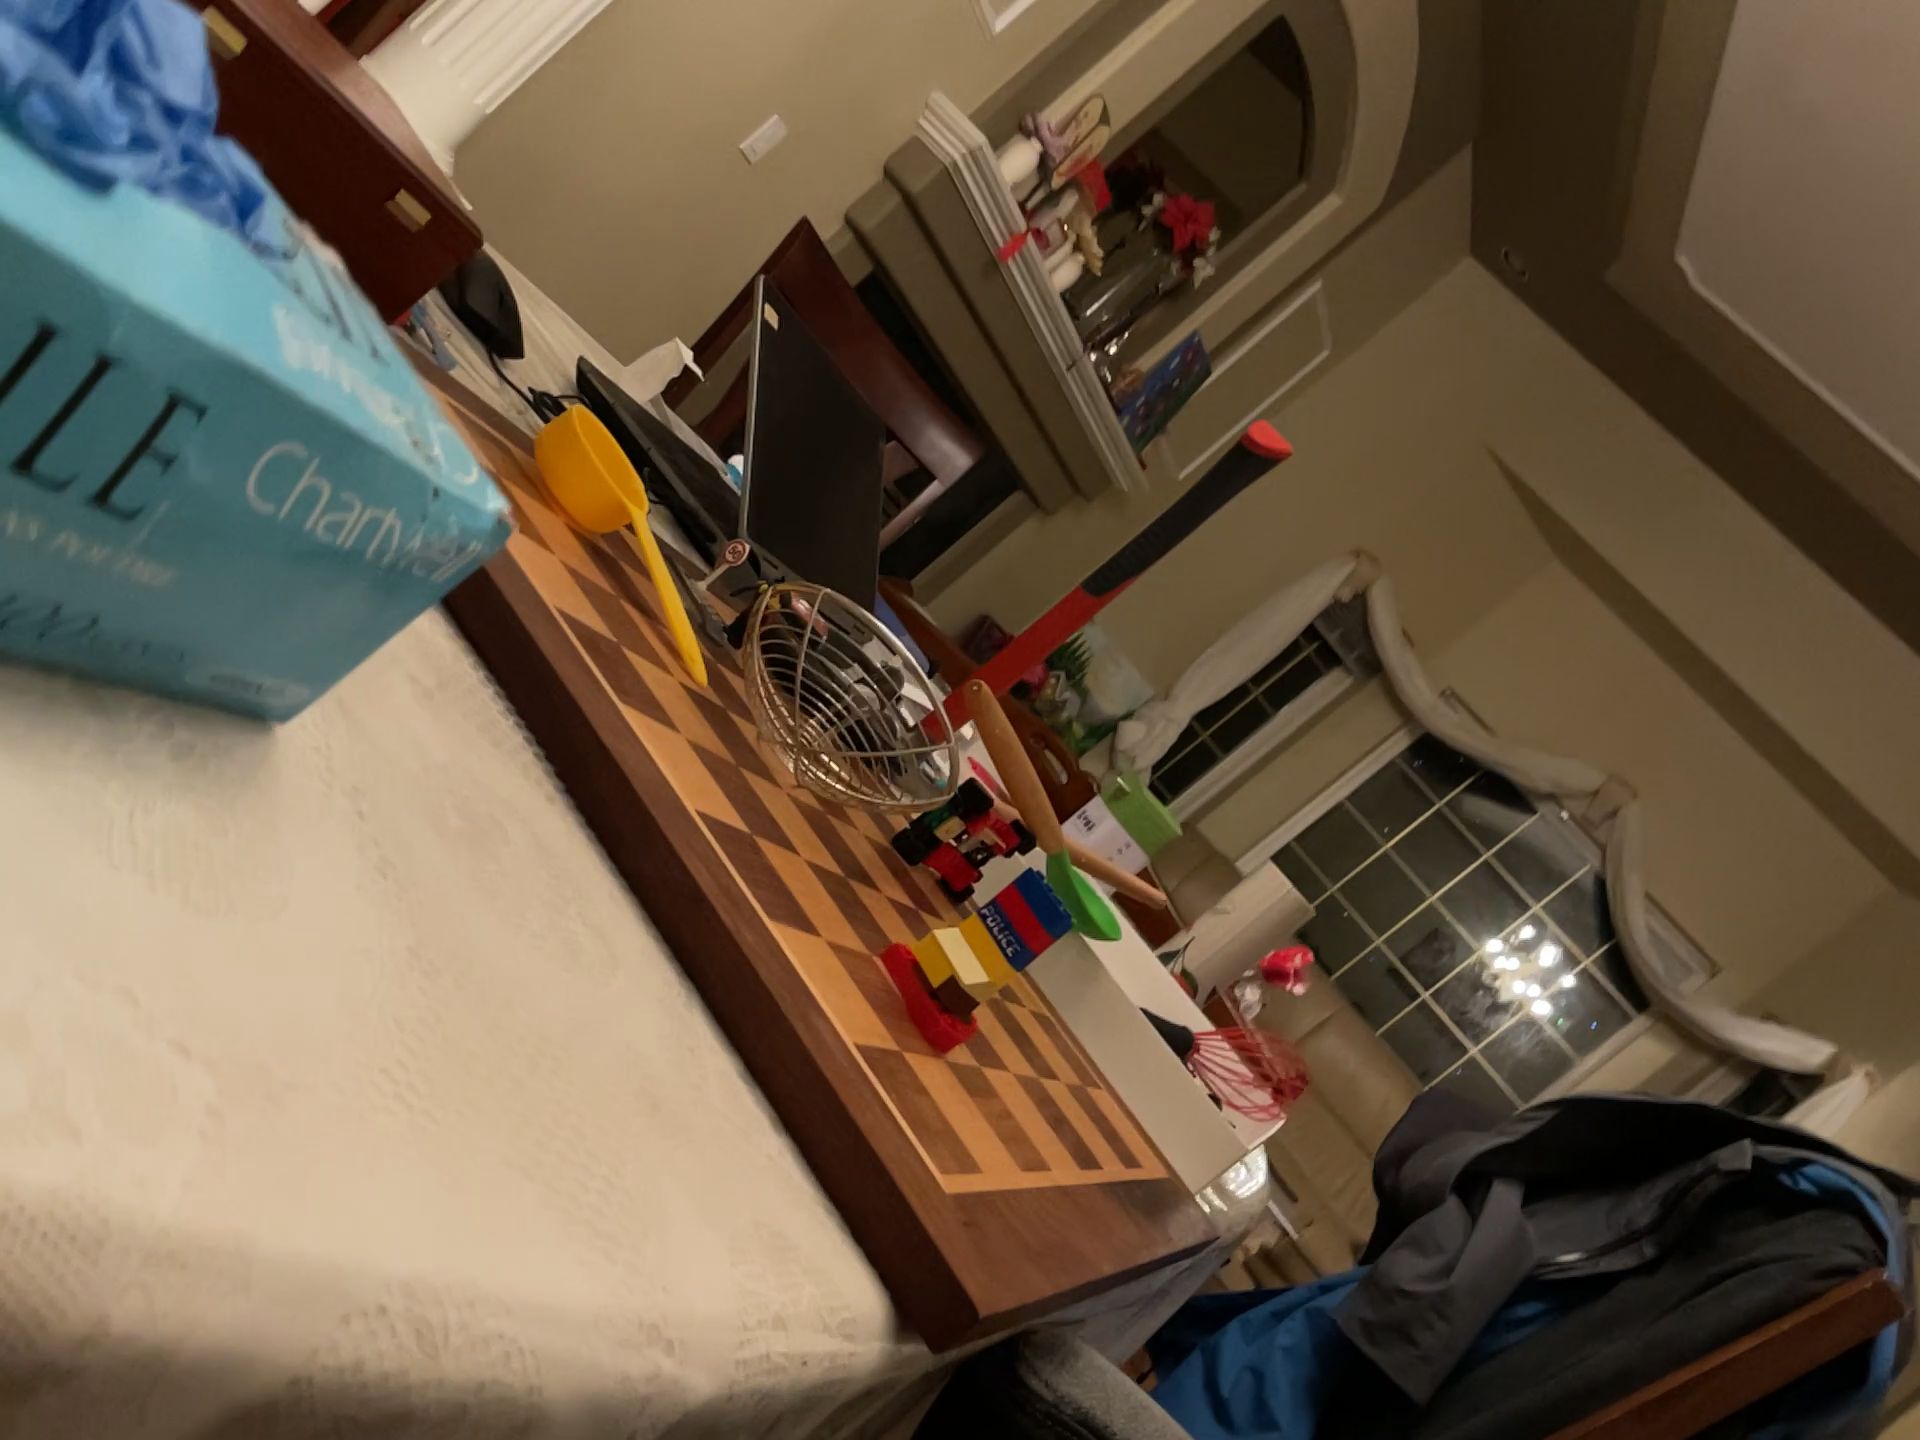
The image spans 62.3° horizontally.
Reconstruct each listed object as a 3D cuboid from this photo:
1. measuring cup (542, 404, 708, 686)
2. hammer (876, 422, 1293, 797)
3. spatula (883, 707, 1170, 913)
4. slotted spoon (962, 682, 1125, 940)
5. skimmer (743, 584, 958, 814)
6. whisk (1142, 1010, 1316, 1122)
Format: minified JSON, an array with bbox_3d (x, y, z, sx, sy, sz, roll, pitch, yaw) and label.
[{"bbox_3d":[-0.155,-0.077,0.738,0.157,0.029,0.062,65,6,21],"label":"measuring cup"},{"bbox_3d":[0.095,-0.080,1.204,0.038,0.386,0.143,52,5,24],"label":"hammer"},{"bbox_3d":[0.040,0.068,1.298,0.318,0.044,0.082,29,-8,27],"label":"spatula"},{"bbox_3d":[0.047,0.059,0.913,0.070,0.031,0.313,55,-3,32],"label":"slotted spoon"},{"bbox_3d":[-0.041,-0.021,0.863,0.127,0.090,0.363,48,8,-1],"label":"skimmer"},{"bbox_3d":[0.180,0.252,1.215,0.295,0.073,0.073,28,-1,-40],"label":"whisk"}]
